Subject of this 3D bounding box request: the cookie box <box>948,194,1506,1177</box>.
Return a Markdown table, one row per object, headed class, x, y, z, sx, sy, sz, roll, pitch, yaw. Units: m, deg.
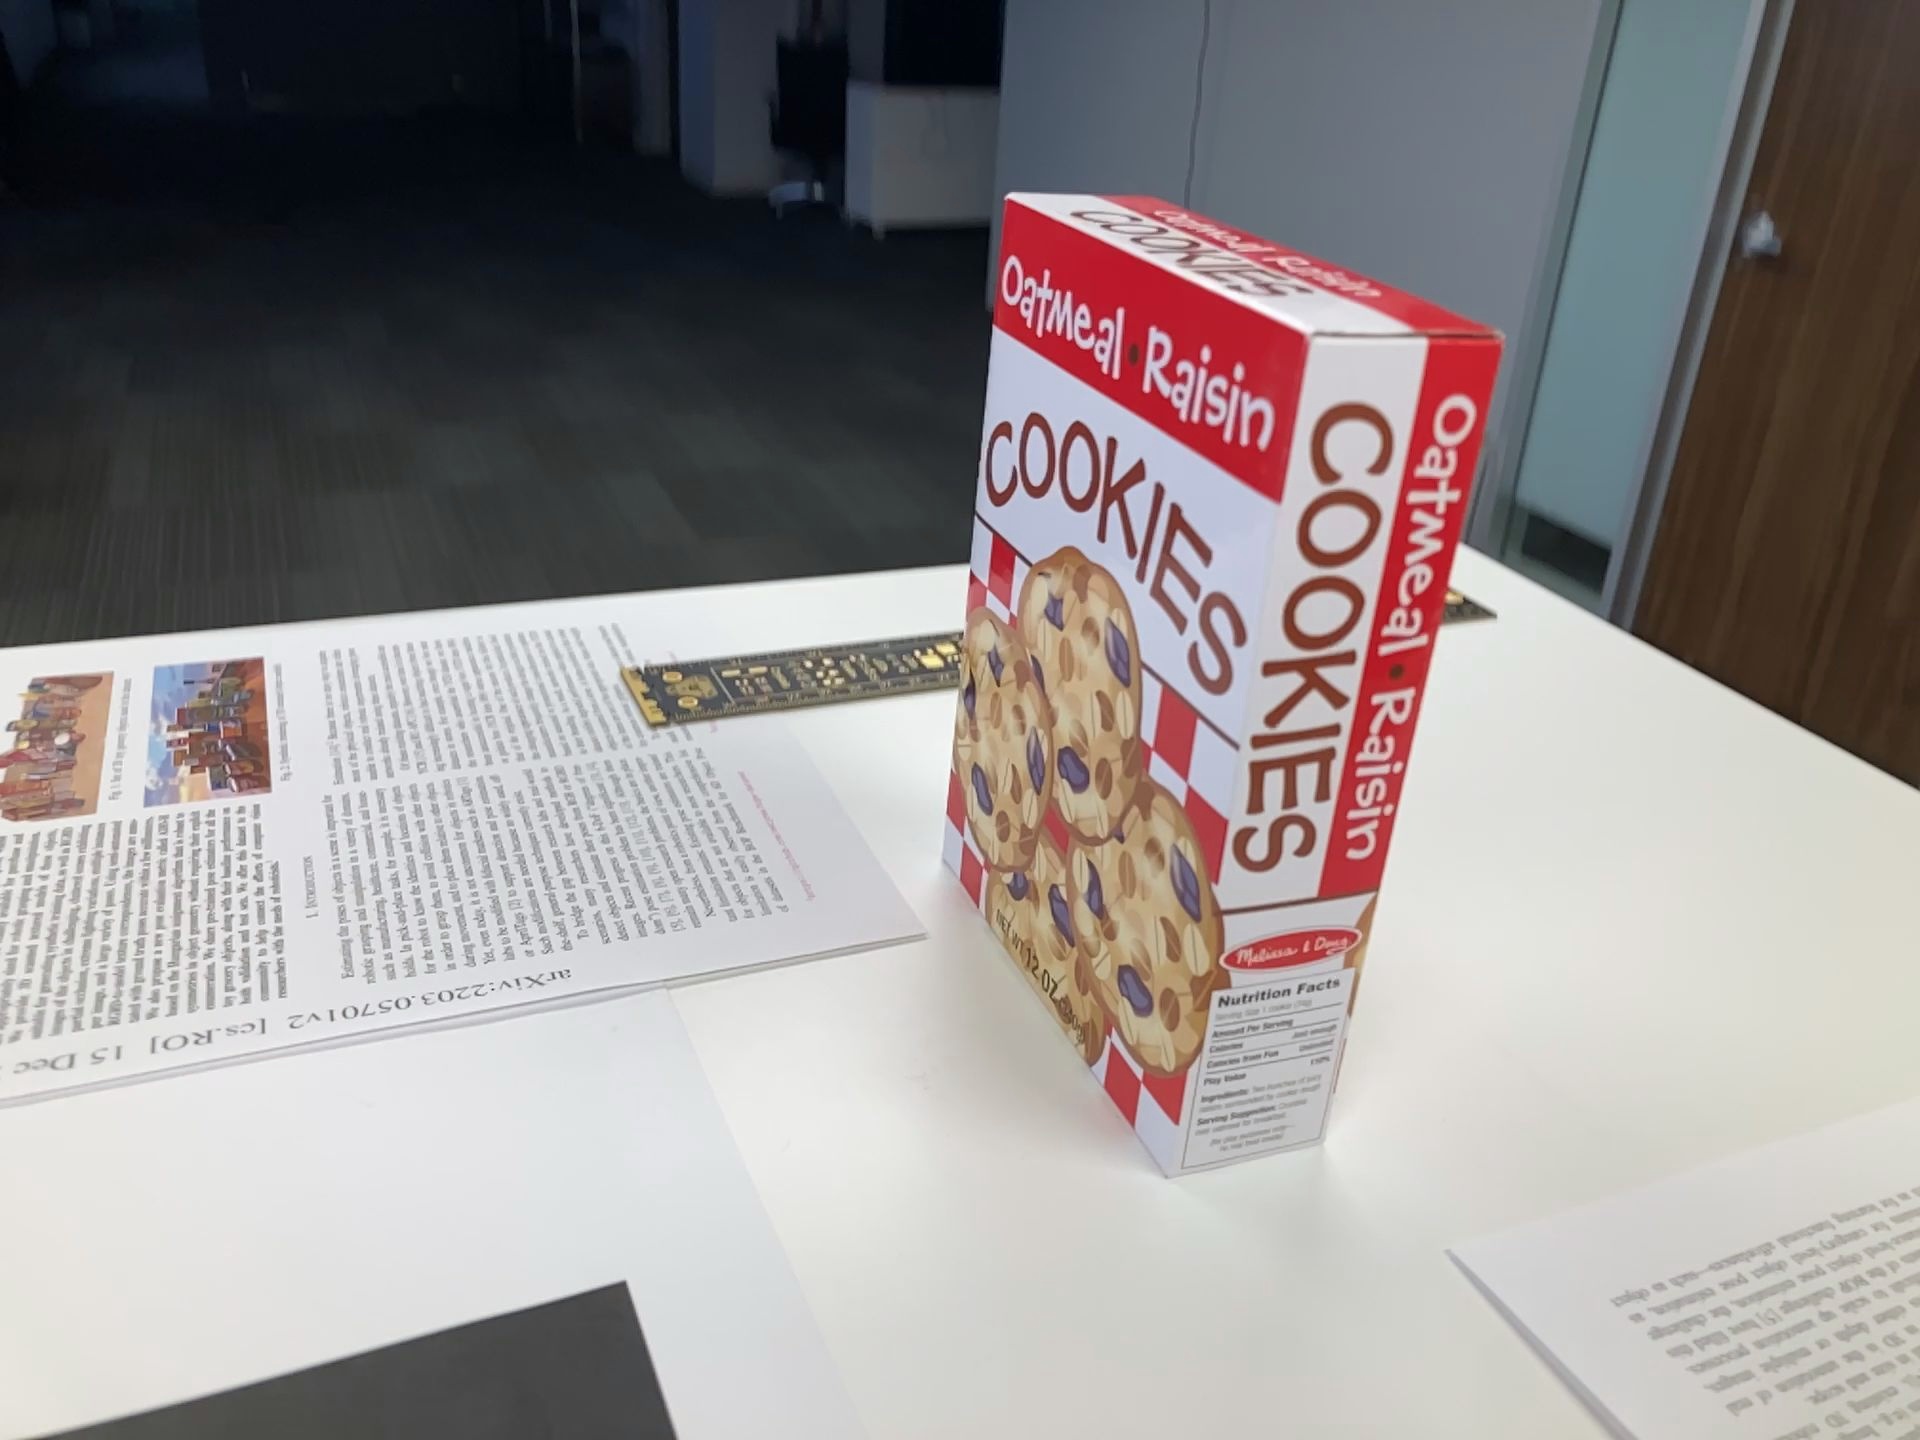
| class | x | y | z | sx | sy | sz | roll | pitch | yaw |
| --- | --- | --- | --- | --- | --- | --- | --- | --- | --- |
| cookie box | 0.042 | -0.014 | 0.328 | 0.040 | 0.167 | 0.123 | -6 | 28 | -21 |
